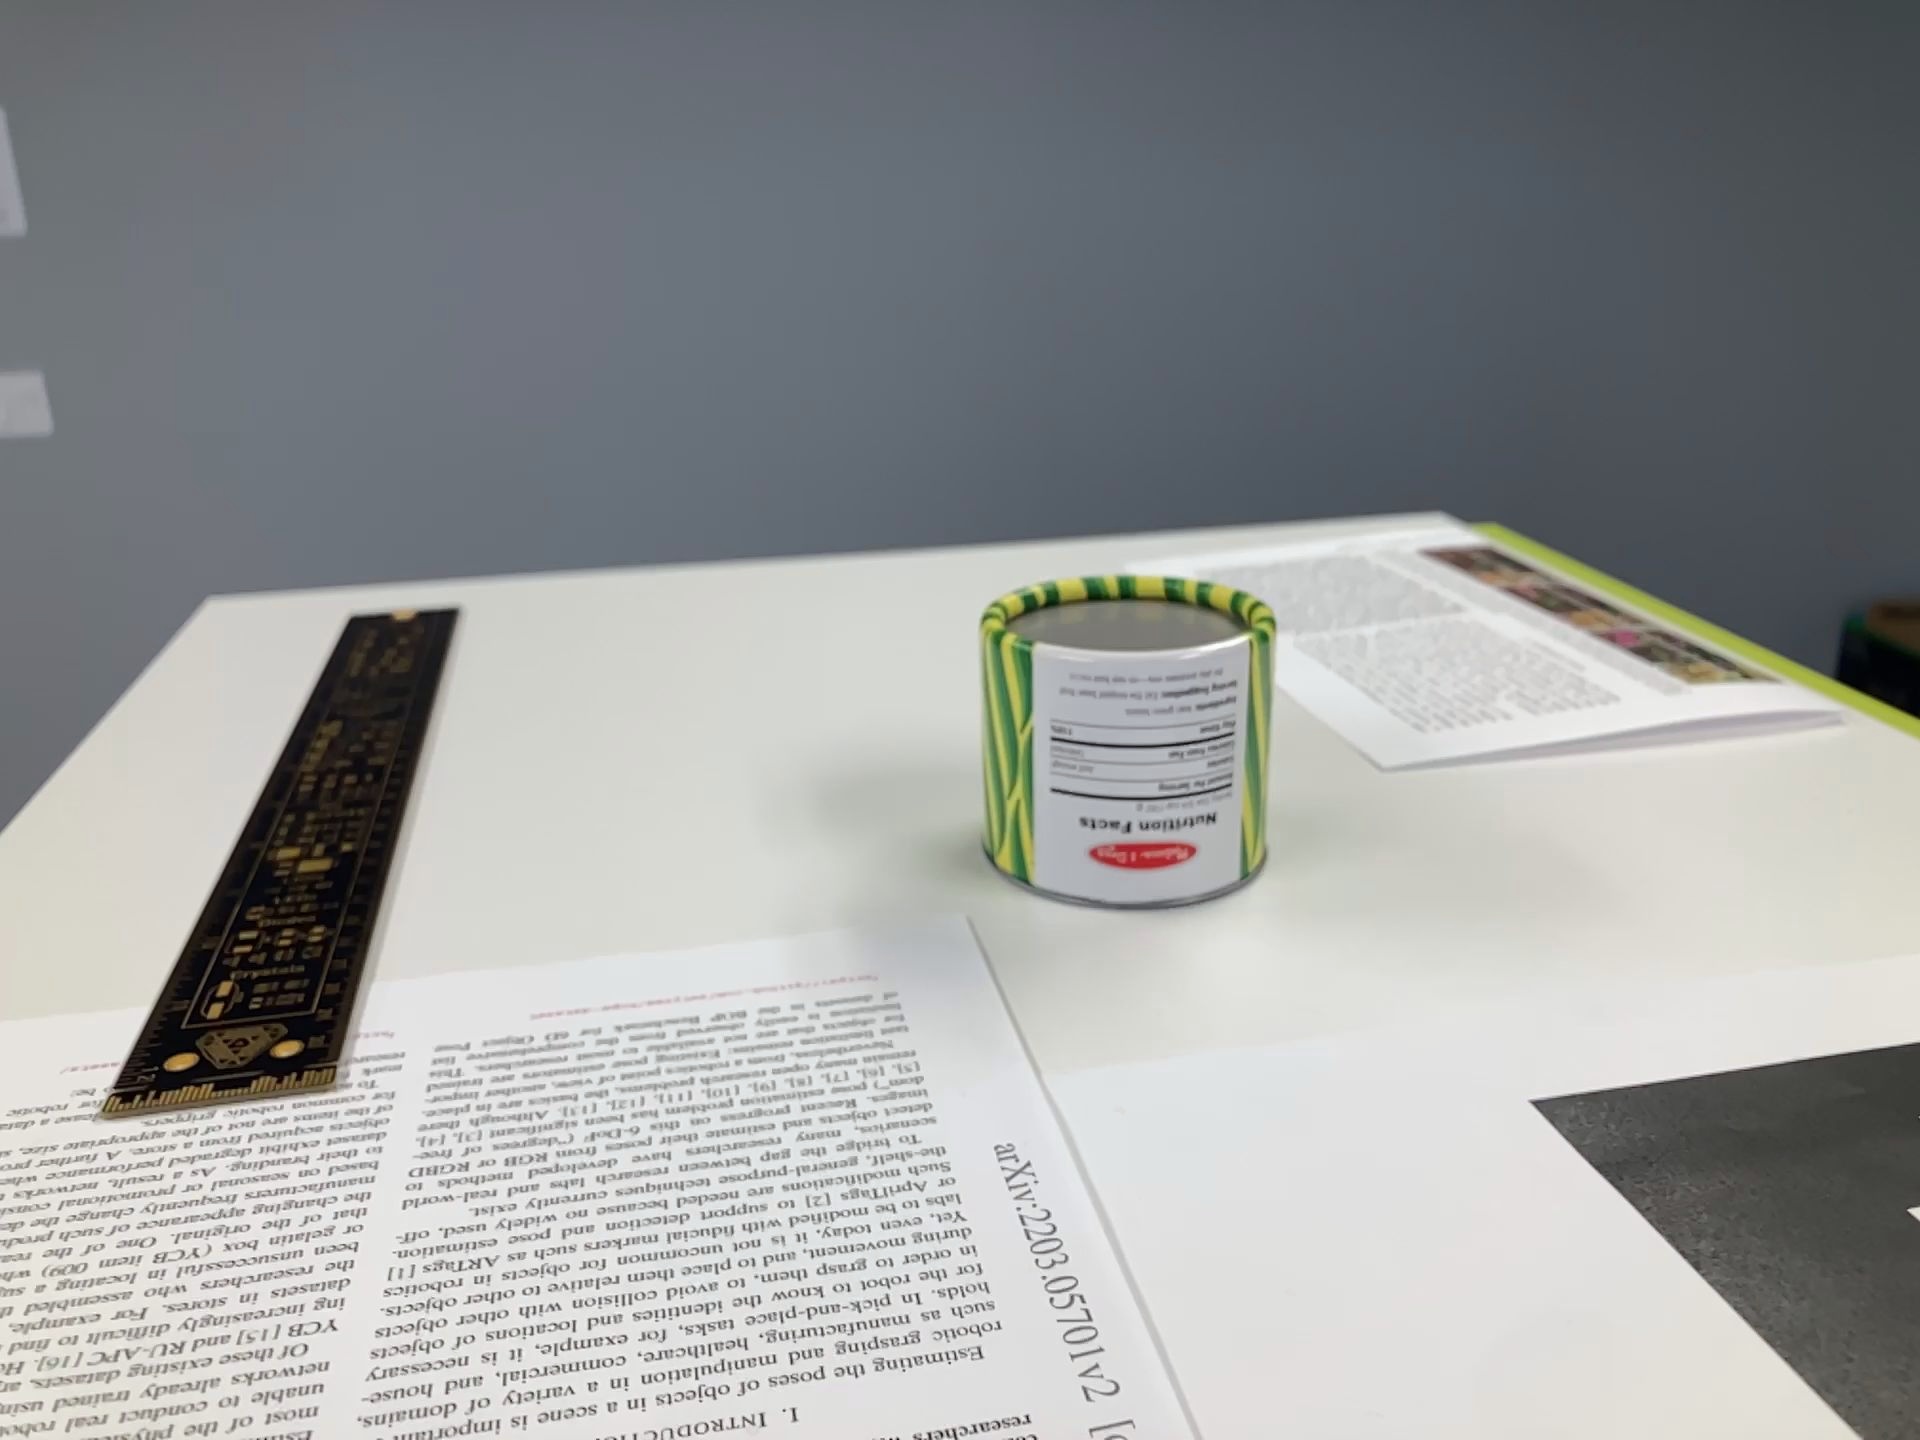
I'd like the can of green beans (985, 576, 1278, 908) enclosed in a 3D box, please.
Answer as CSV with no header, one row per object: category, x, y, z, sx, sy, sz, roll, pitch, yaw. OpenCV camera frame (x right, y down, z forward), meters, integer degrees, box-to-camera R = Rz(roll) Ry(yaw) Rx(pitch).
can of green beans,0.039,0.003,0.369,0.071,0.058,0.071,-1,20,1
